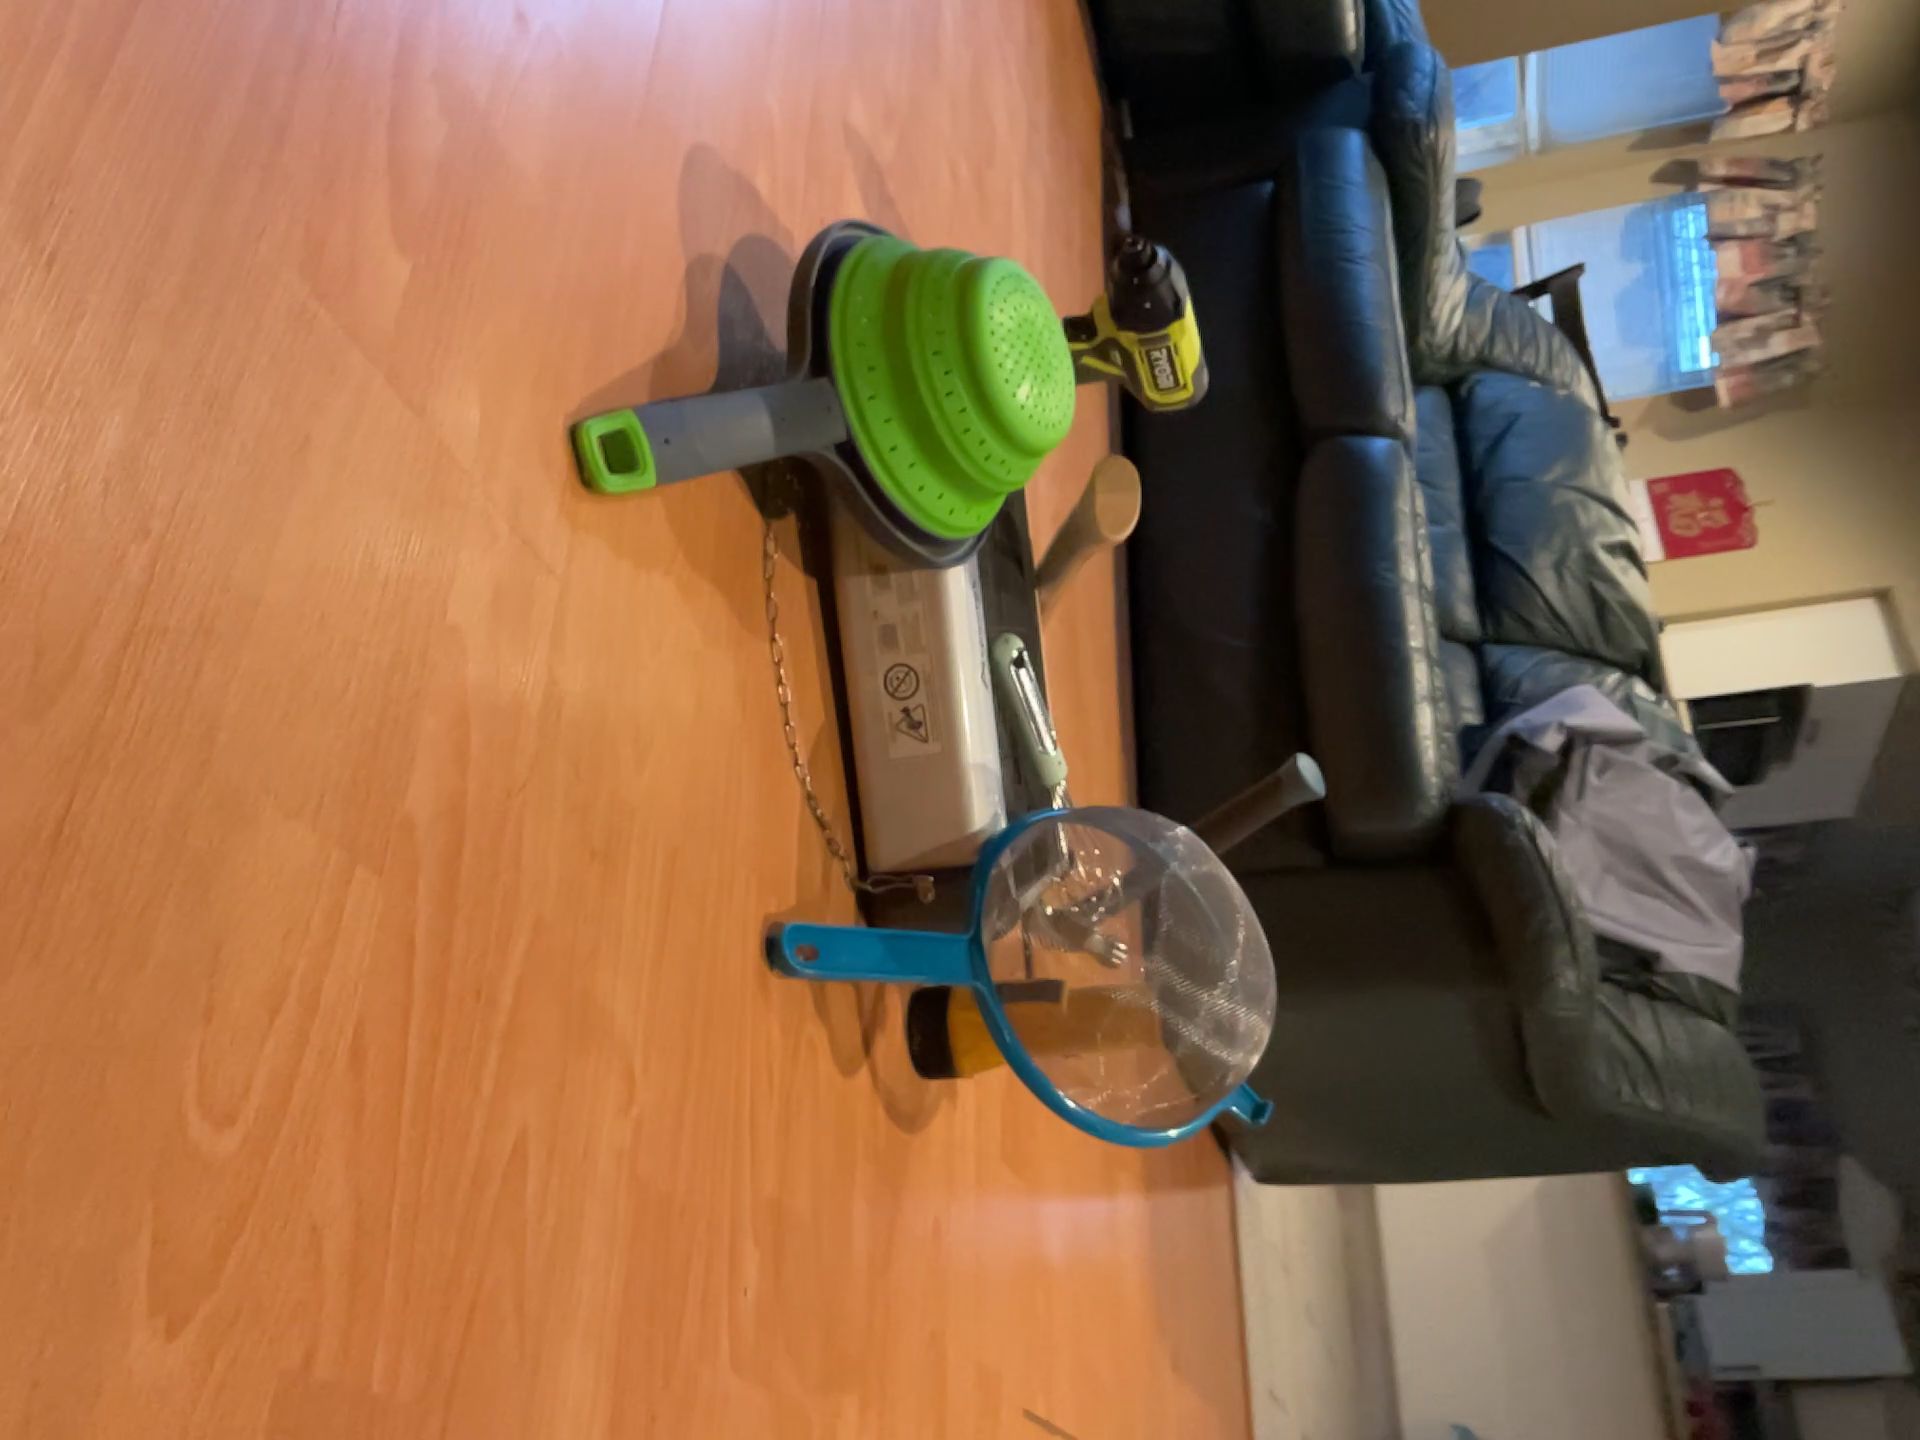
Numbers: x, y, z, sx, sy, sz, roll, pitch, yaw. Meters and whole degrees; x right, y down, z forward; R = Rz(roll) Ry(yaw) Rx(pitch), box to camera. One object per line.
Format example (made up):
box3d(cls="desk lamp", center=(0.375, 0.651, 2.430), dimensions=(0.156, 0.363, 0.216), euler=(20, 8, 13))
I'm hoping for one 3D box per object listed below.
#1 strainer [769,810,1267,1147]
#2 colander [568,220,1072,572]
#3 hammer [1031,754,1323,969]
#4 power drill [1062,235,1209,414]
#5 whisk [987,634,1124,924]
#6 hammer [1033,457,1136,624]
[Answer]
box3d(cls="strainer", center=(0.059, 0.124, 0.895), dimensions=(0.340, 0.095, 0.211), euler=(10, 57, -38))
box3d(cls="colander", center=(-0.040, -0.170, 0.833), dimensions=(0.397, 0.094, 0.204), euler=(-29, 105, -57))
box3d(cls="hammer", center=(0.178, 0.118, 1.336), dimensions=(0.128, 0.330, 0.033), euler=(25, 48, -25))
box3d(cls="power drill", center=(0.068, -0.290, 1.229), dimensions=(0.171, 0.223, 0.080), euler=(57, 29, -59))
box3d(cls="whisk", center=(0.062, 0.044, 1.075), dimensions=(0.058, 0.059, 0.246), euler=(-47, 131, -33))
box3d(cls="hammer", center=(0.066, -0.114, 1.203), dimensions=(0.410, 0.038, 0.146), euler=(122, -35, -75))
